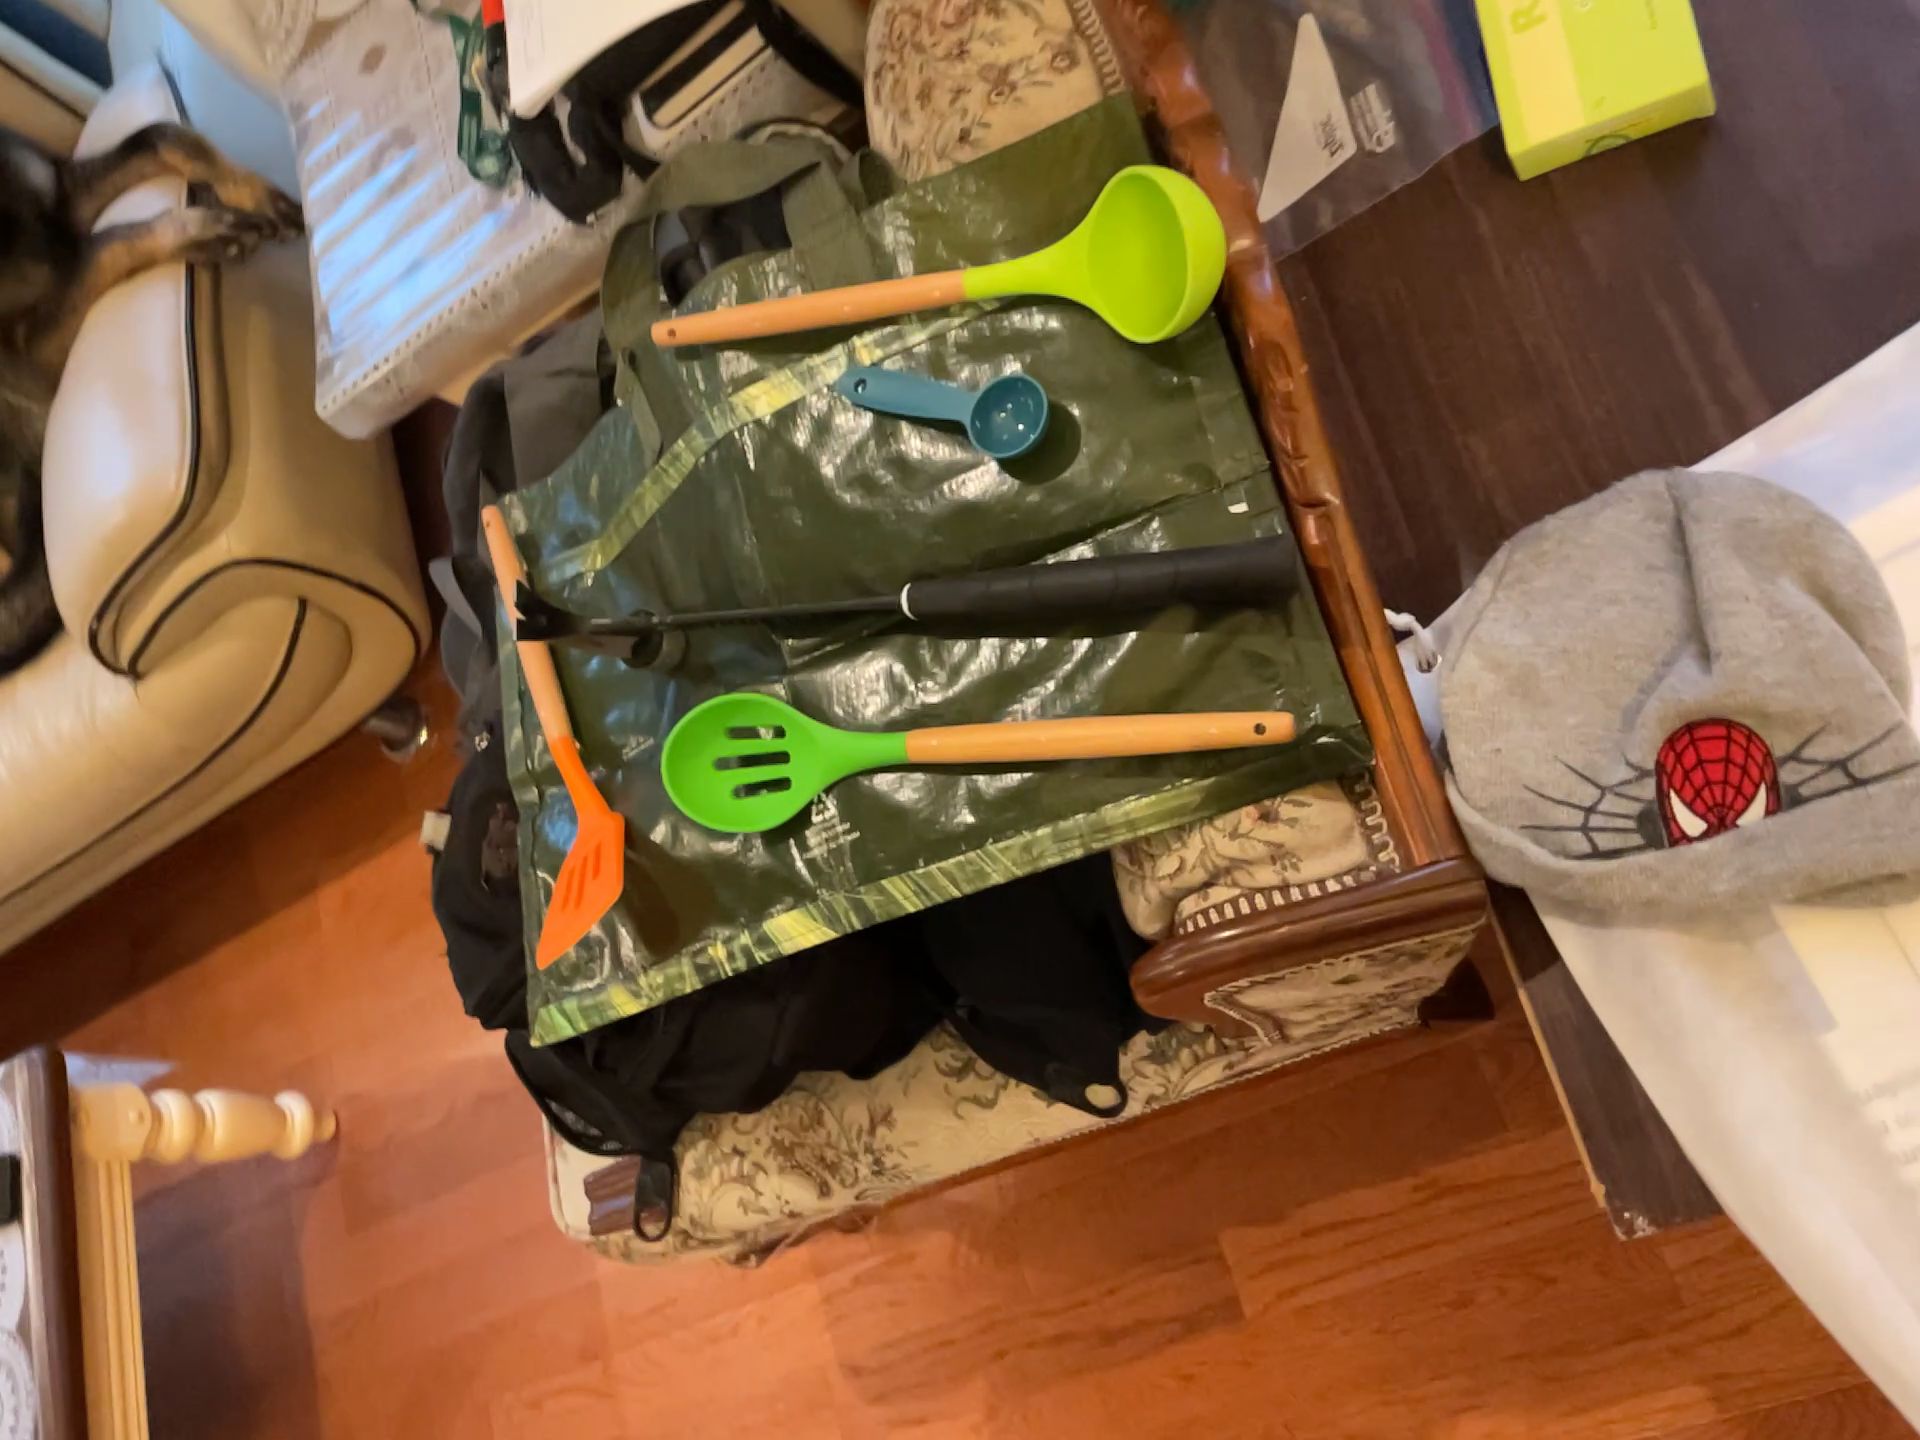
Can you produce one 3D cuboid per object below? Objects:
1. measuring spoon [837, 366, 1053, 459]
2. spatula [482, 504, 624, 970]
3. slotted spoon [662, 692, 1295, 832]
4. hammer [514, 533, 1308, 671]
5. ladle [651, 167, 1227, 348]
[{"bbox_3d":[-0.007,-0.155,0.783,0.129,0.021,0.042,20,87,33],"label":"measuring spoon"},{"bbox_3d":[-0.249,-0.008,0.938,0.081,0.041,0.323,-40,57,27],"label":"spatula"},{"bbox_3d":[0.001,0.014,0.754,0.314,0.031,0.070,-4,91,22],"label":"slotted spoon"},{"bbox_3d":[-0.033,-0.059,0.776,0.409,0.149,0.036,-3,86,25],"label":"hammer"},{"bbox_3d":[-0.024,-0.210,0.783,0.320,0.062,0.078,-2,103,25],"label":"ladle"}]
